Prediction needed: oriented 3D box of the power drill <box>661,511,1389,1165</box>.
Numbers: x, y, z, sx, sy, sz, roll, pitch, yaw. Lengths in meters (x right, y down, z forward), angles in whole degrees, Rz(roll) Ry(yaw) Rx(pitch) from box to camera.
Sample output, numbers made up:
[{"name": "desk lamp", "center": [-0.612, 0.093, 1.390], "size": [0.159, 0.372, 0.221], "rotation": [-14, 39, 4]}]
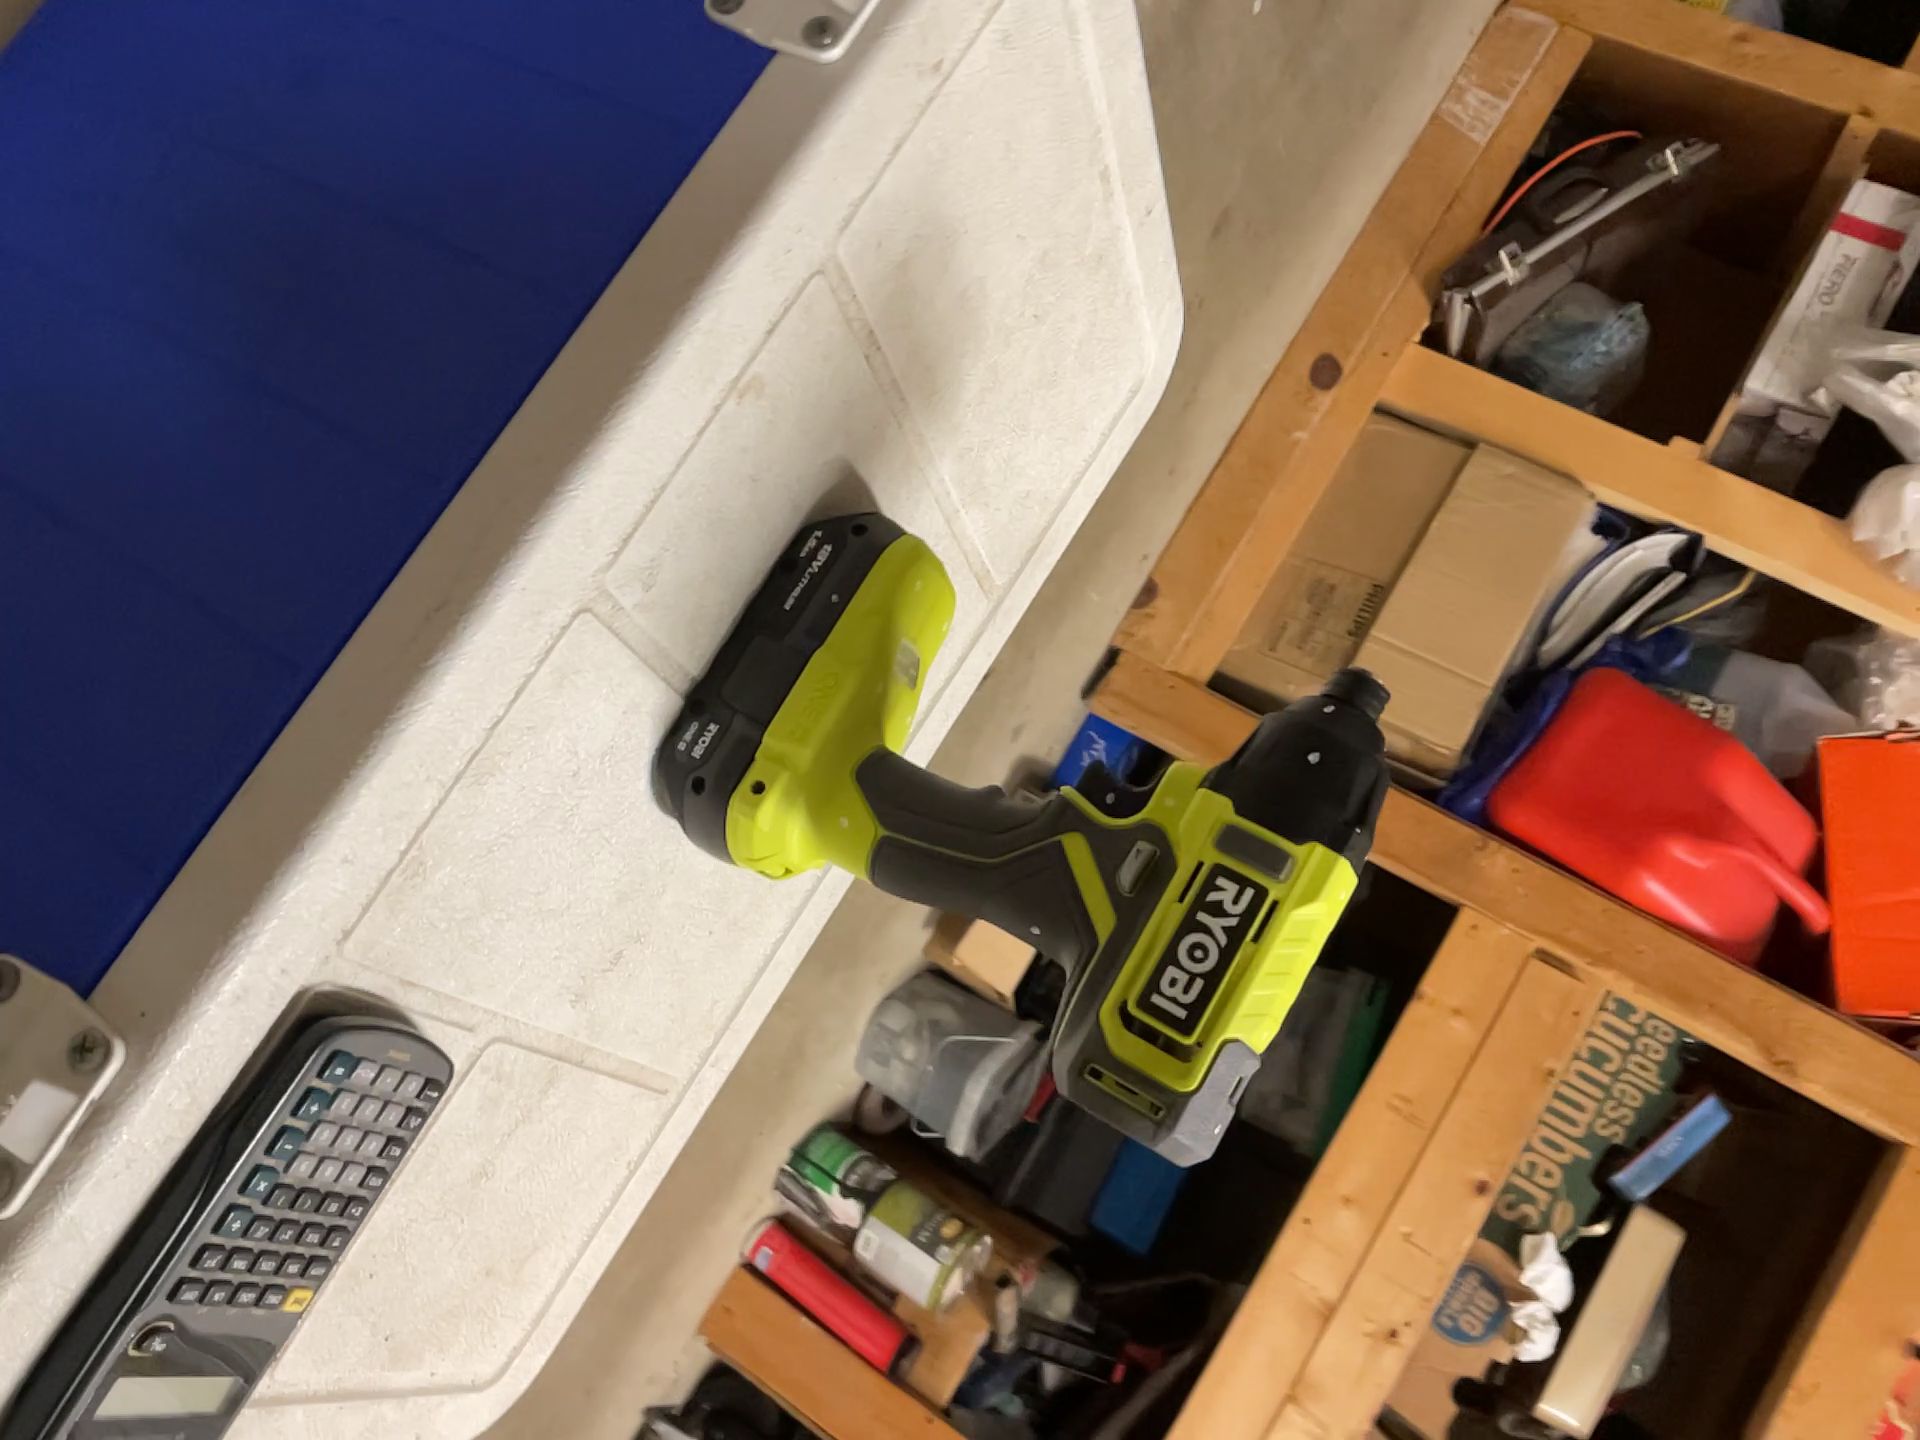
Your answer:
[{"name": "power drill", "center": [0.025, 0.023, 0.556], "size": [0.171, 0.223, 0.080], "rotation": [-59, 159, -9]}]
